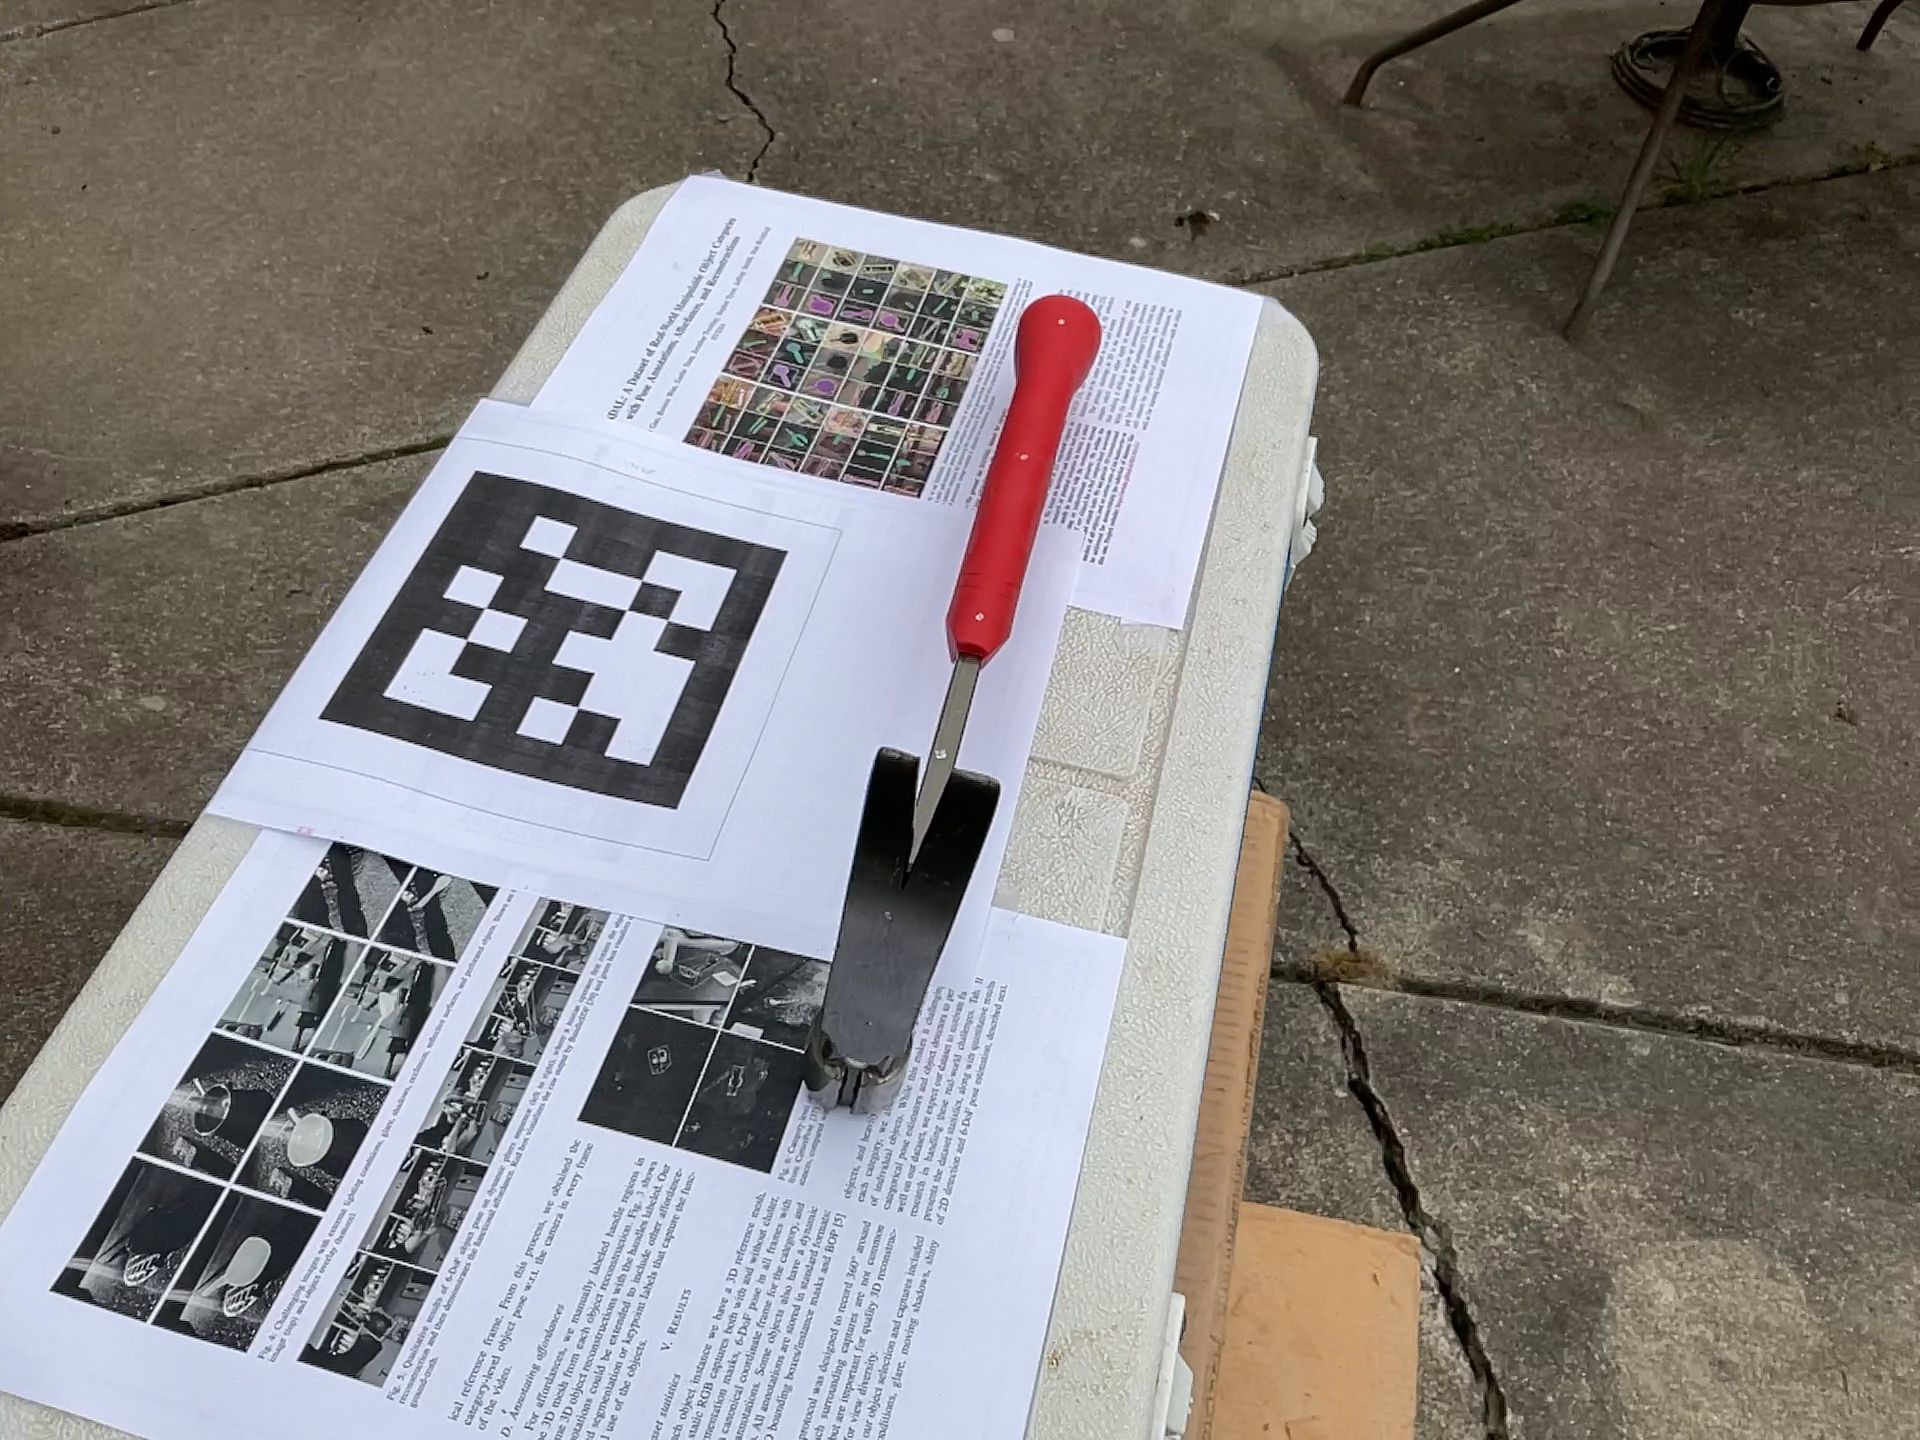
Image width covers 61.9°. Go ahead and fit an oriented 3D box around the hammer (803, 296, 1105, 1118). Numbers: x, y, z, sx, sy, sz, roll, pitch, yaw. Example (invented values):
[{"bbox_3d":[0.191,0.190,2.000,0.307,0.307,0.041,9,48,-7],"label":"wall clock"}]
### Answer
[{"bbox_3d":[0.012,-0.052,0.545,0.036,0.149,0.359,16,45,0],"label":"hammer"}]
